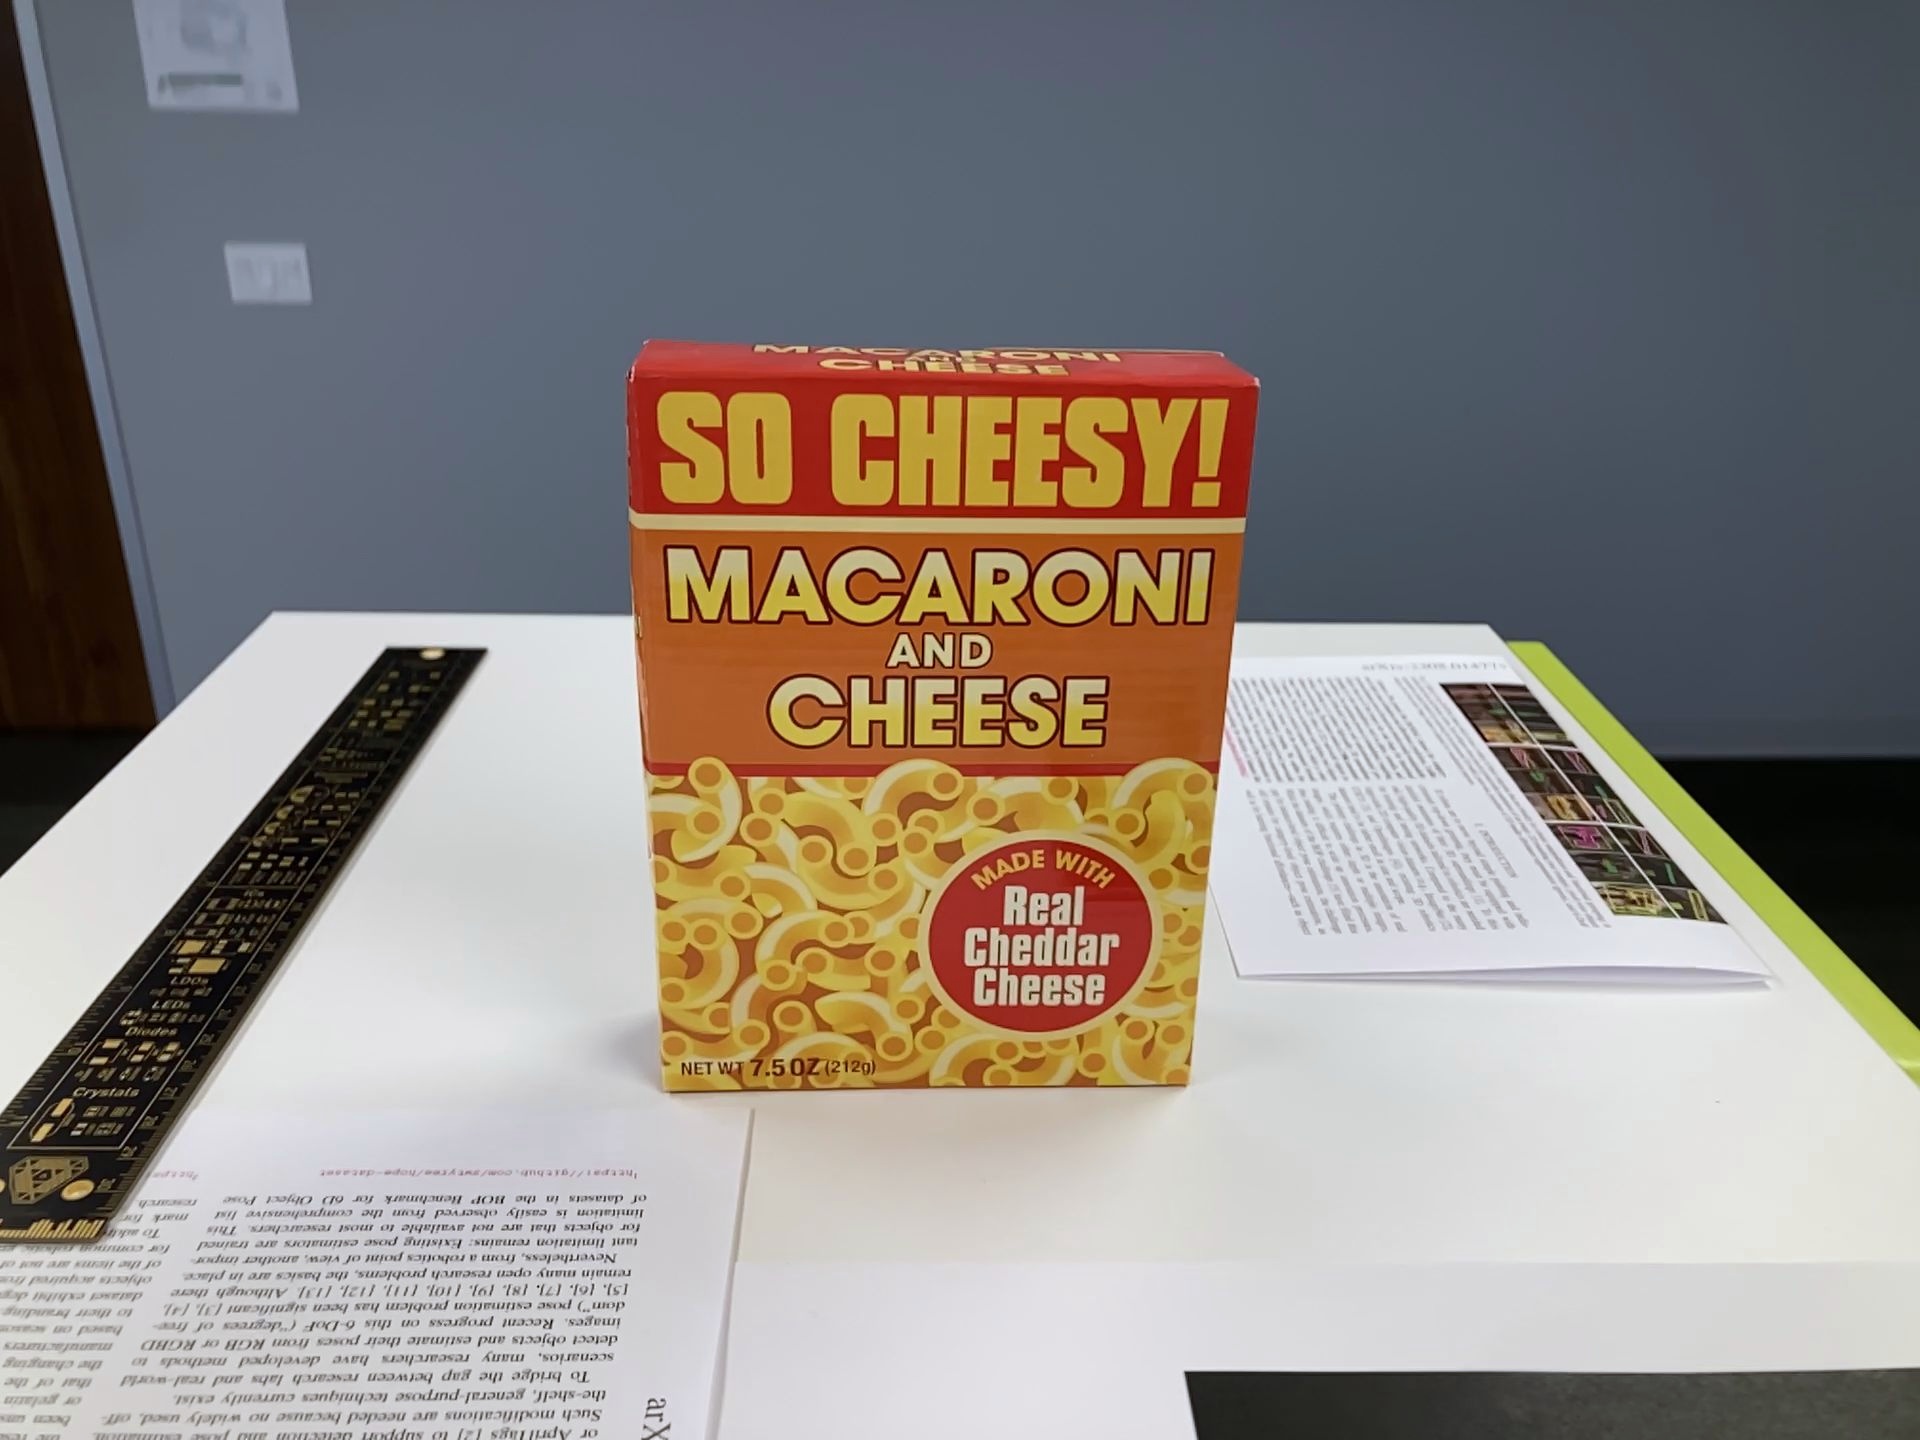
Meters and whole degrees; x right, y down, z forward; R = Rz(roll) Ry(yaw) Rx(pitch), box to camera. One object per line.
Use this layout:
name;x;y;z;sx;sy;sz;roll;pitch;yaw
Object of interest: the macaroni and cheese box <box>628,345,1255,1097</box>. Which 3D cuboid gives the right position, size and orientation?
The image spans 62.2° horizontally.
macaroni and cheese box;-0.006;0.003;0.353;0.124;0.166;0.040;-1;24;-5
